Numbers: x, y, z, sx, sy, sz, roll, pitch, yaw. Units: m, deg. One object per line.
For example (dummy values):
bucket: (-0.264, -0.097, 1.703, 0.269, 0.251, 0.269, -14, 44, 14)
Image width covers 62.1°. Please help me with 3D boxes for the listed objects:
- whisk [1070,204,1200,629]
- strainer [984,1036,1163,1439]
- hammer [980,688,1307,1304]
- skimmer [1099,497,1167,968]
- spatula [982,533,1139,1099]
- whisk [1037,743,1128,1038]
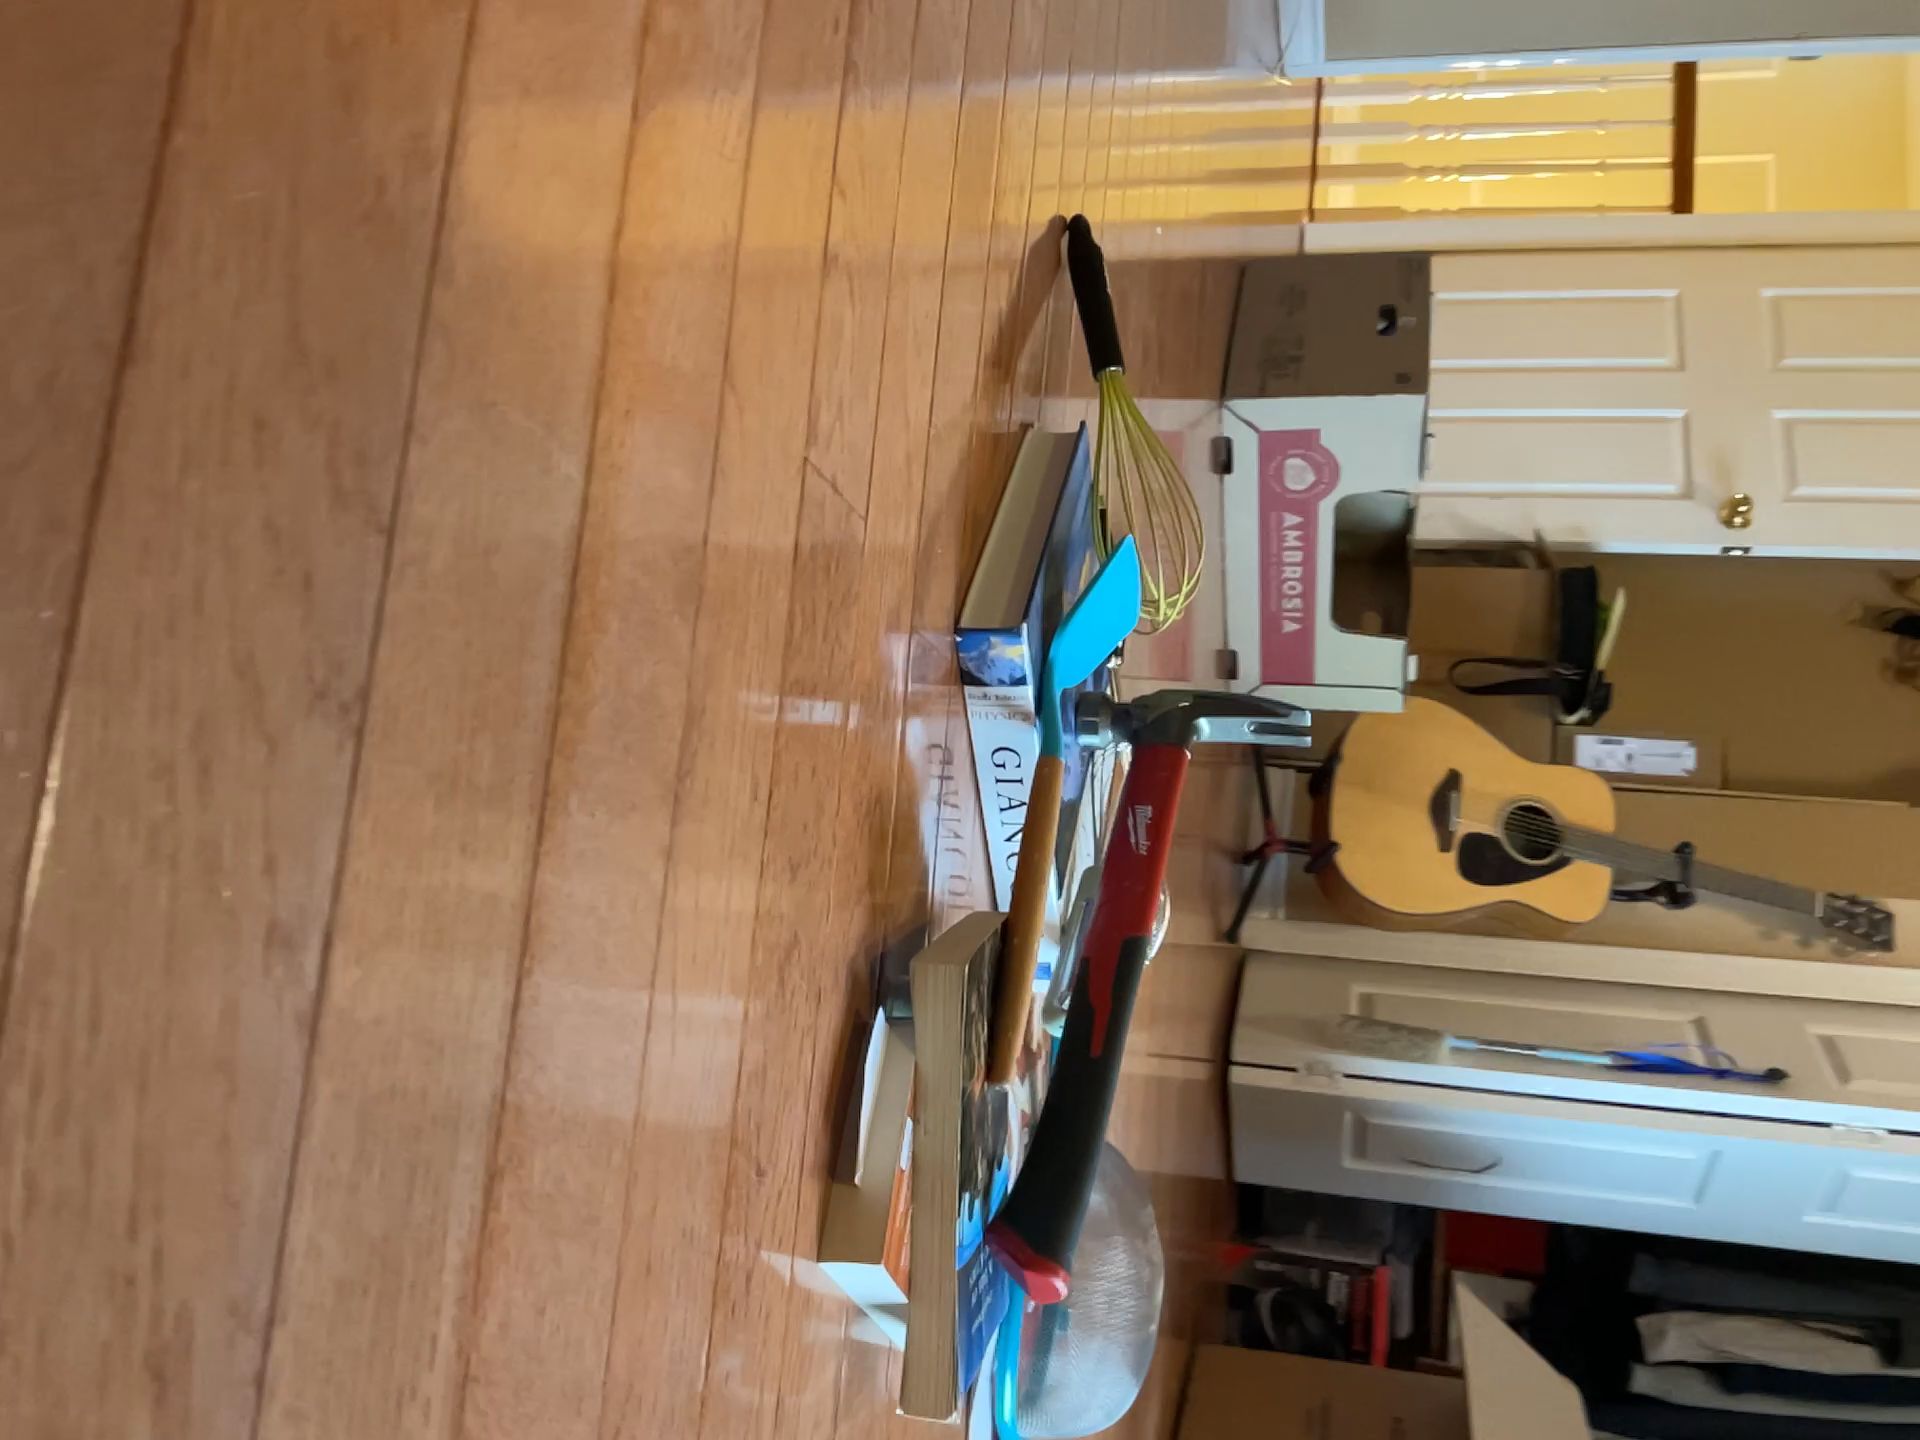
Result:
whisk: (0.100, -0.203, 1.032, 0.080, 0.067, 0.312, 27, 51, -59)
strainer: (0.091, 0.320, 1.048, 0.211, 0.095, 0.340, -41, 139, -70)
hammer: (0.096, 0.127, 0.858, 0.038, 0.143, 0.387, 75, 25, -43)
skimmer: (0.088, 0.022, 1.159, 0.127, 0.090, 0.363, -3, 85, -74)
spatula: (0.052, 0.045, 0.827, 0.082, 0.044, 0.318, 76, 22, -54)
whisk: (0.088, 0.092, 0.998, 0.059, 0.058, 0.247, -55, -169, 50)
